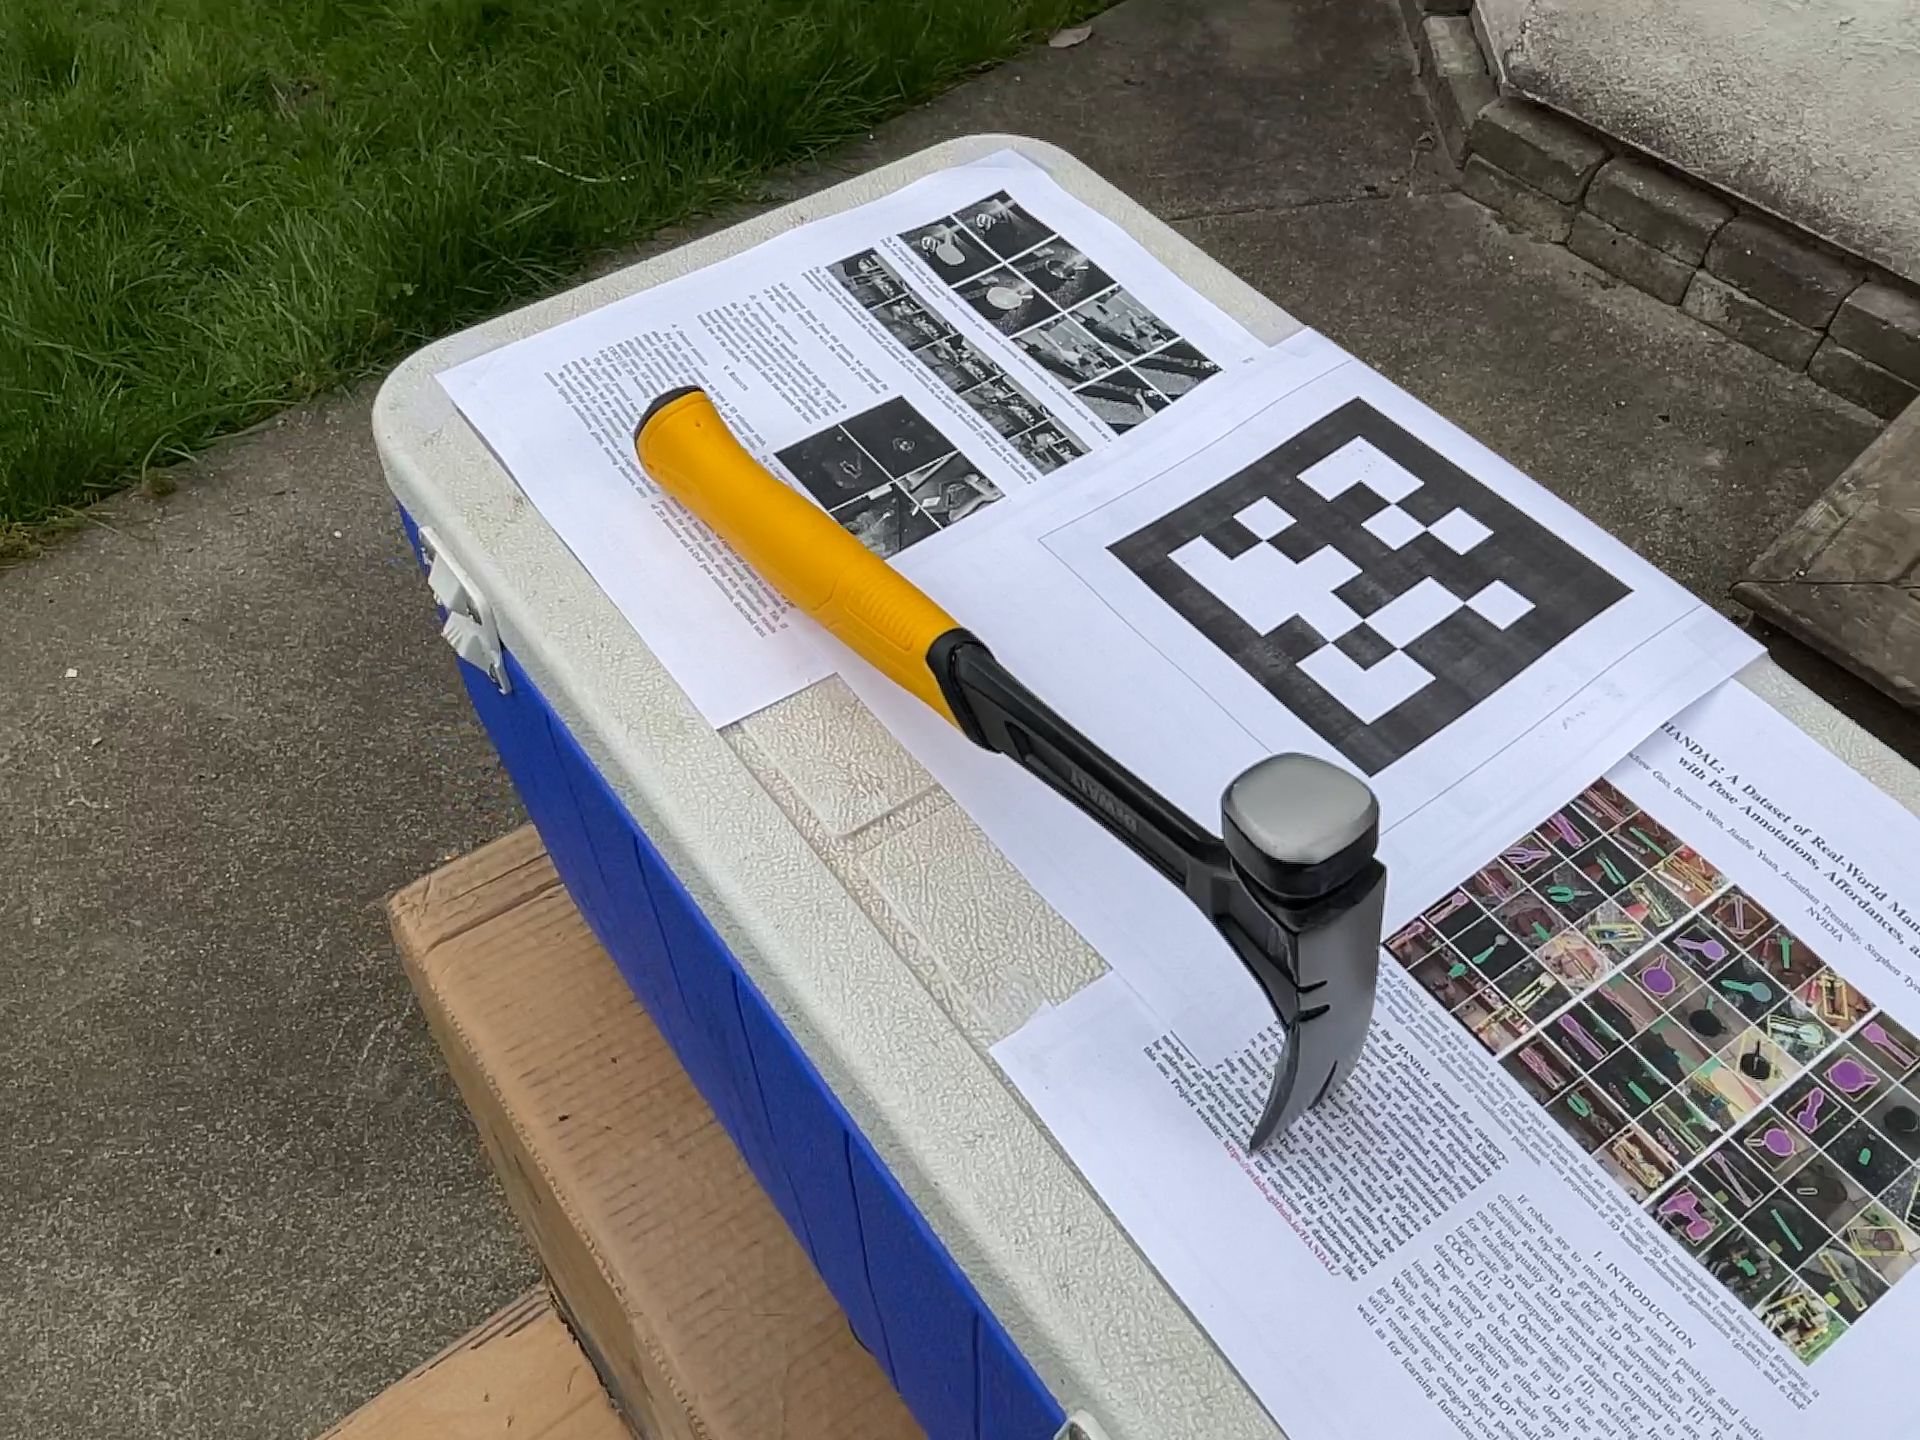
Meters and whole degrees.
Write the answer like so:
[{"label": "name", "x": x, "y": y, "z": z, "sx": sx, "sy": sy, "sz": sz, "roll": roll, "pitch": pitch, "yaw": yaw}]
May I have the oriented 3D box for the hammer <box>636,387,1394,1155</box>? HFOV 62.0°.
[{"label": "hammer", "x": -0.006, "y": -0.014, "z": 0.489, "sx": 0.034, "sy": 0.127, "sz": 0.337, "roll": -31, "pitch": 47, "yaw": -22}]
